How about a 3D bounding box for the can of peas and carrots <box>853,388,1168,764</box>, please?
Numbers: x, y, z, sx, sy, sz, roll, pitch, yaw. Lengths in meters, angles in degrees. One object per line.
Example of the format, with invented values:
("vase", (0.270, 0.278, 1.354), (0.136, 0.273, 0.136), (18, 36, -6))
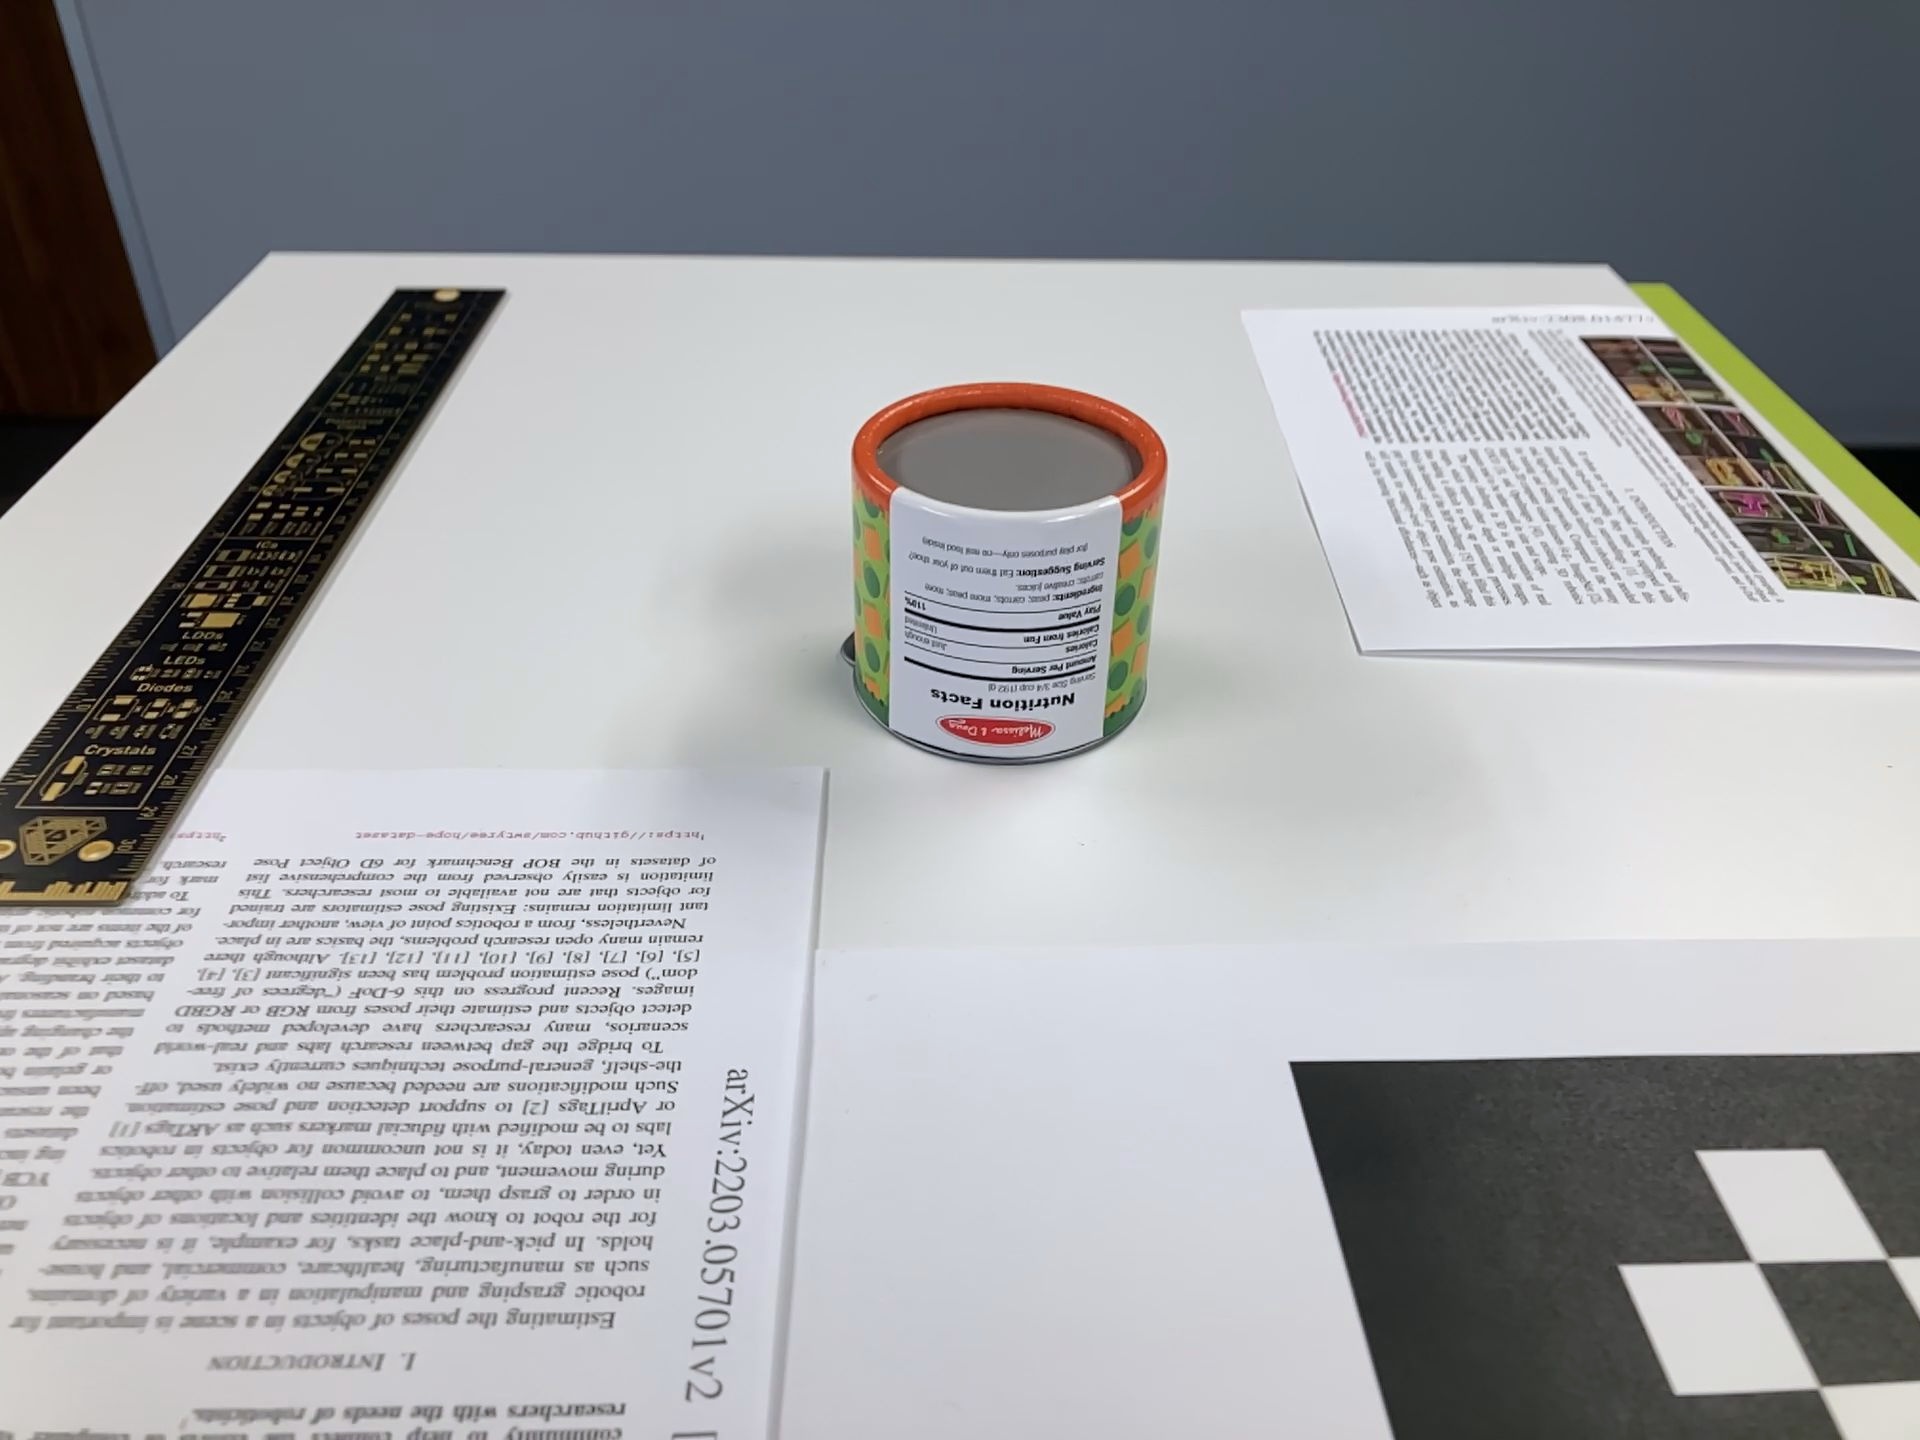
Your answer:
("can of peas and carrots", (0.010, -0.034, 0.346), (0.071, 0.059, 0.071), (1, 35, -1))
